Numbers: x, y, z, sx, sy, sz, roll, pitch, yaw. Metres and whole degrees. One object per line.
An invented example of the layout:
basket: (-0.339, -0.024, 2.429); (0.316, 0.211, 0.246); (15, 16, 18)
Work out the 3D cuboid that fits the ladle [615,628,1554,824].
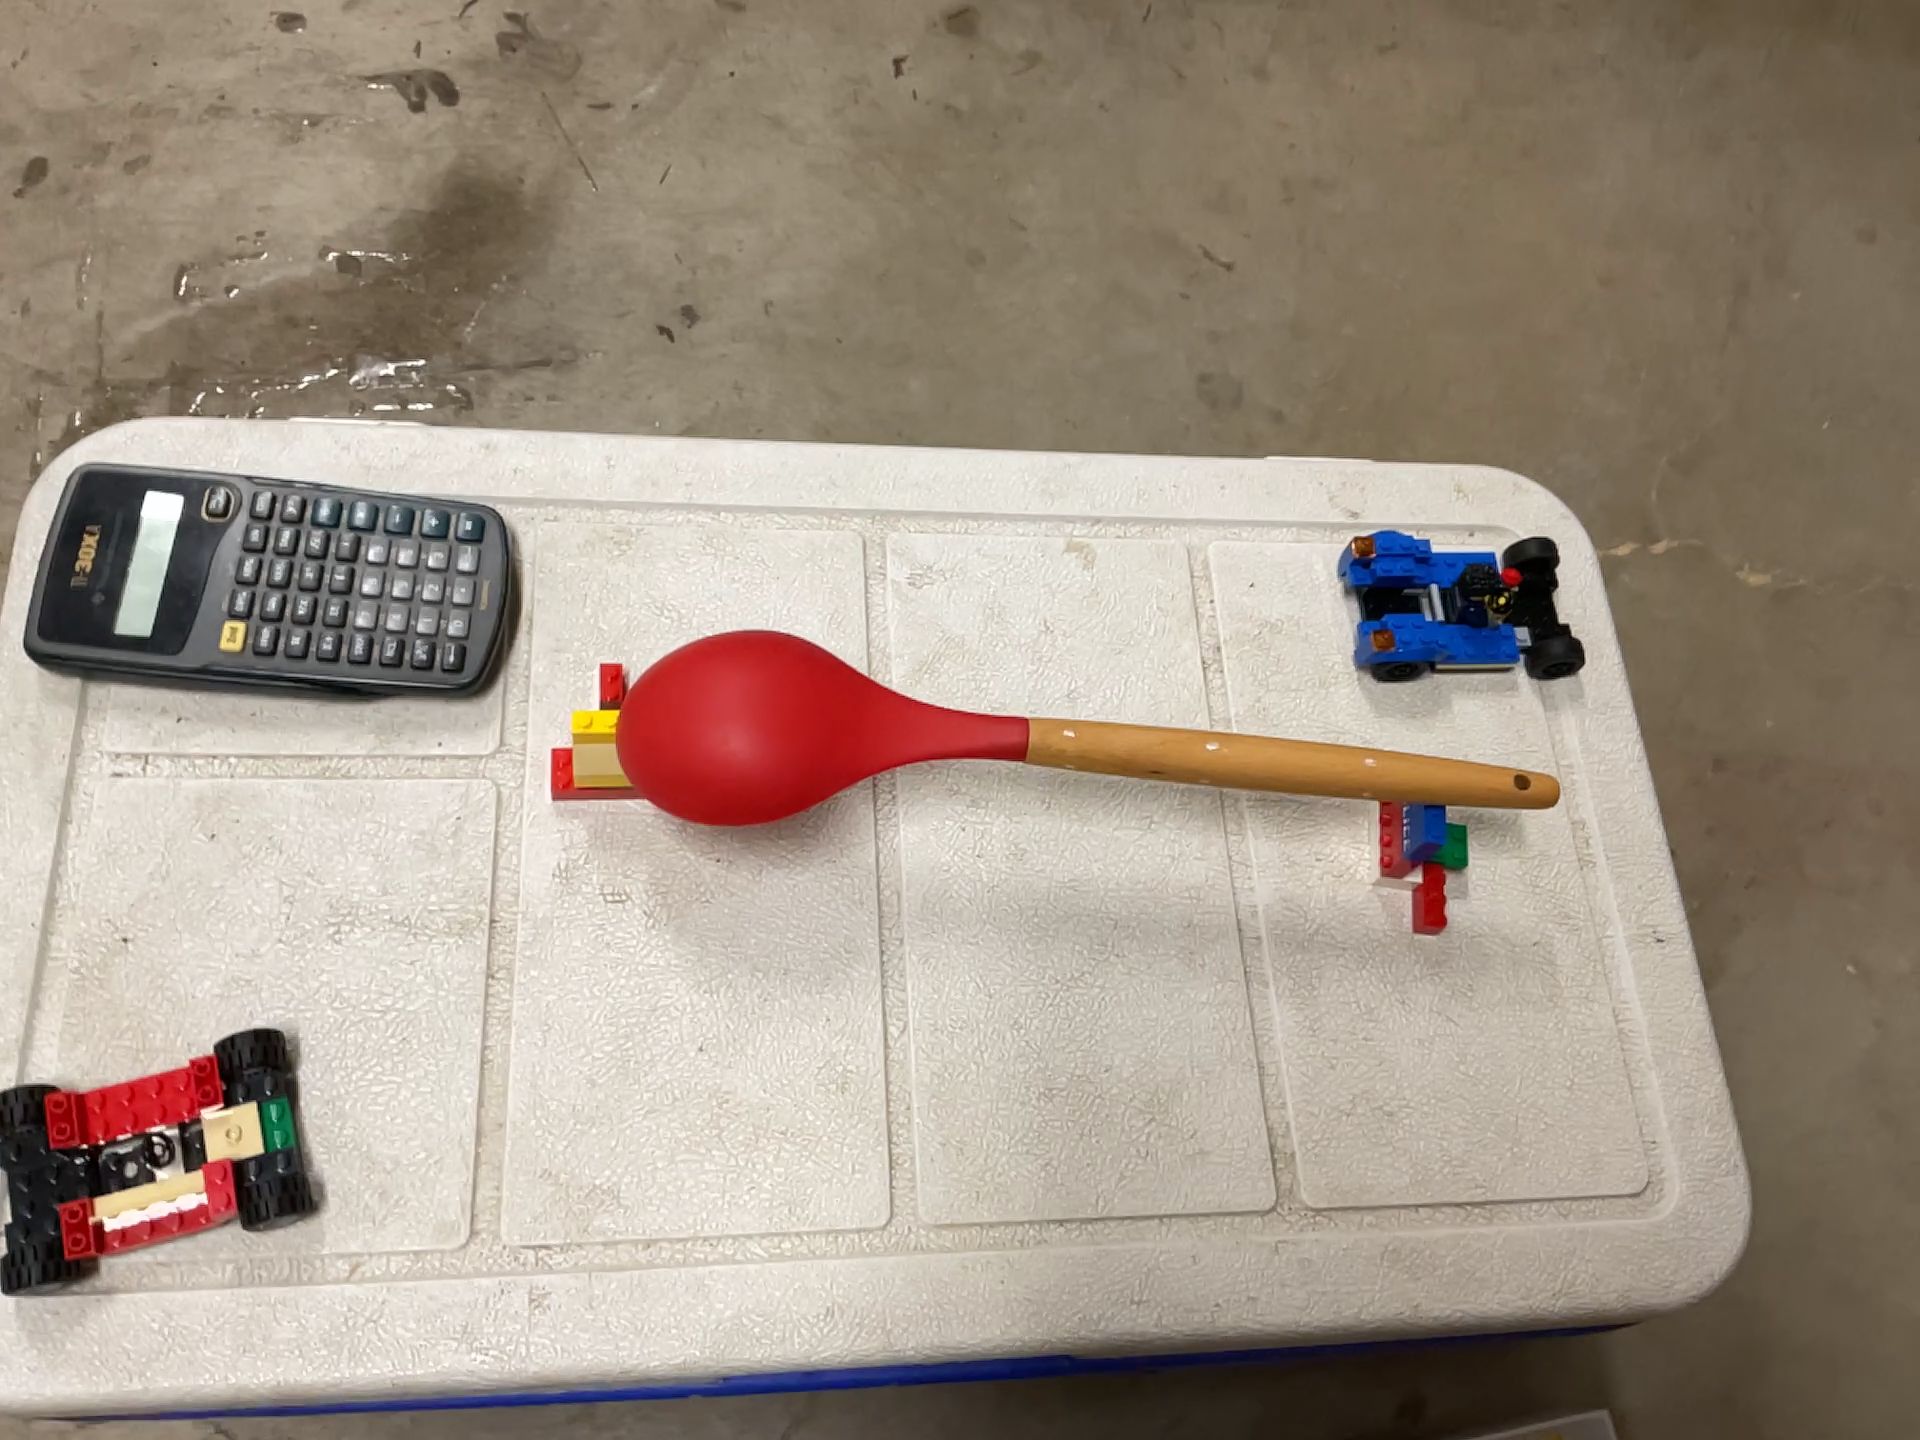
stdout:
ladle: (0.046, 0.011, 0.526); (0.315, 0.031, 0.069); (6, 65, -8)
